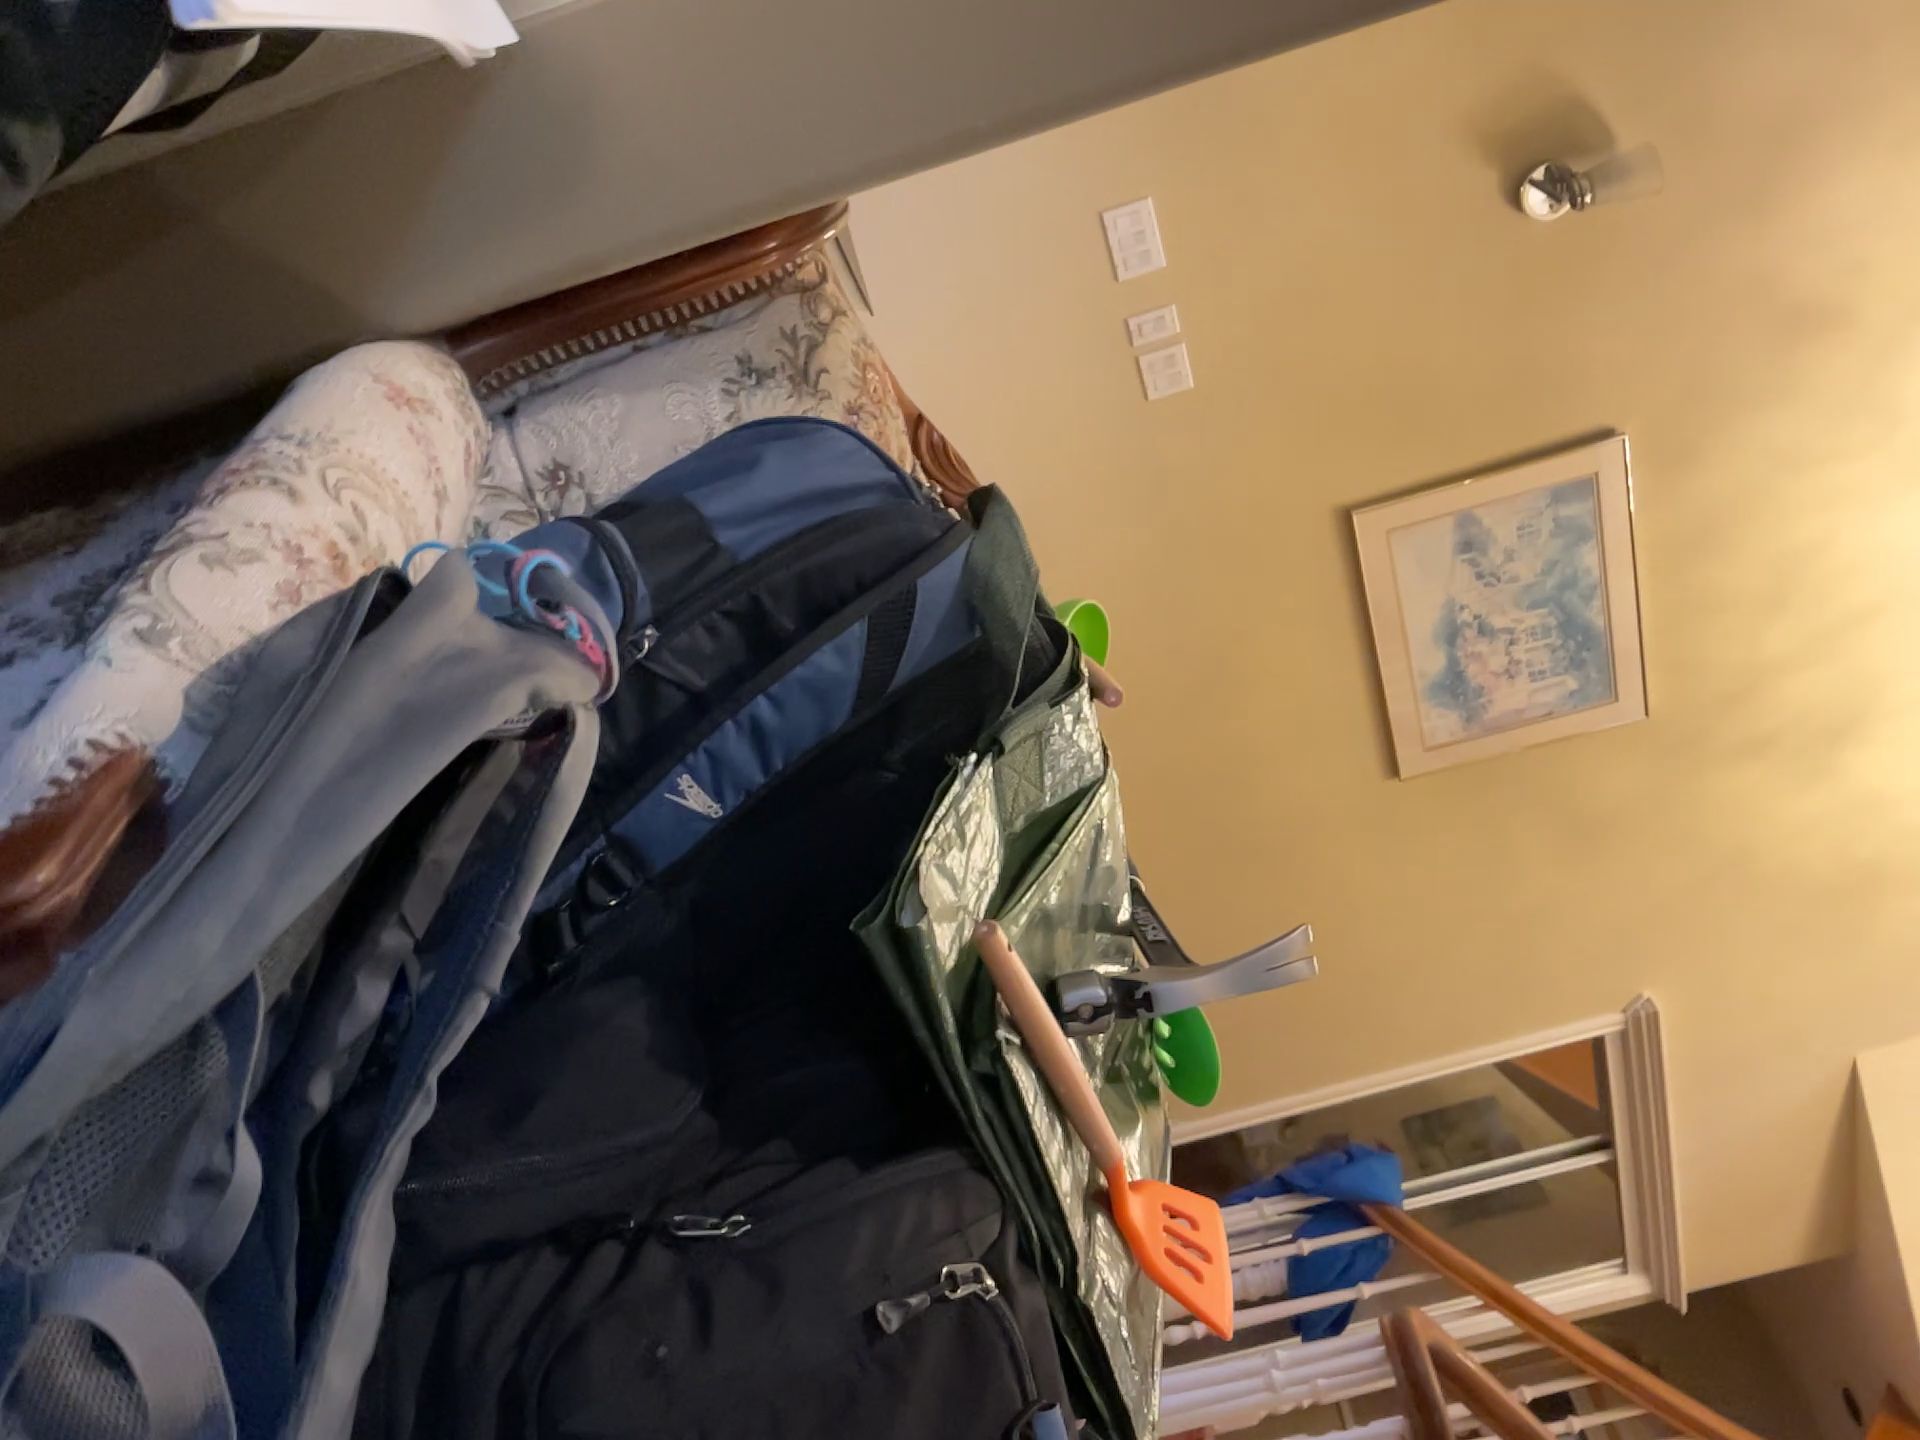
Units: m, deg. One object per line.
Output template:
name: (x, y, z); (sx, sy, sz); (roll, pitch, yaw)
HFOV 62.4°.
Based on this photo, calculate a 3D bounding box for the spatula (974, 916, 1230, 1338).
spatula: (0.075, 0.201, 0.789); (0.081, 0.041, 0.322); (-87, 158, -48)

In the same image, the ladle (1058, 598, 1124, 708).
ladle: (0.088, -0.034, 1.036); (0.320, 0.062, 0.078); (-109, -153, -81)

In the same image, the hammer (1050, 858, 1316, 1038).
hammer: (0.114, 0.115, 1.048); (0.409, 0.149, 0.036); (-108, -171, -80)

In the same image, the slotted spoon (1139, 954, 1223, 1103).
slotted spoon: (0.125, 0.181, 1.096); (0.314, 0.031, 0.070); (-122, -152, -79)
